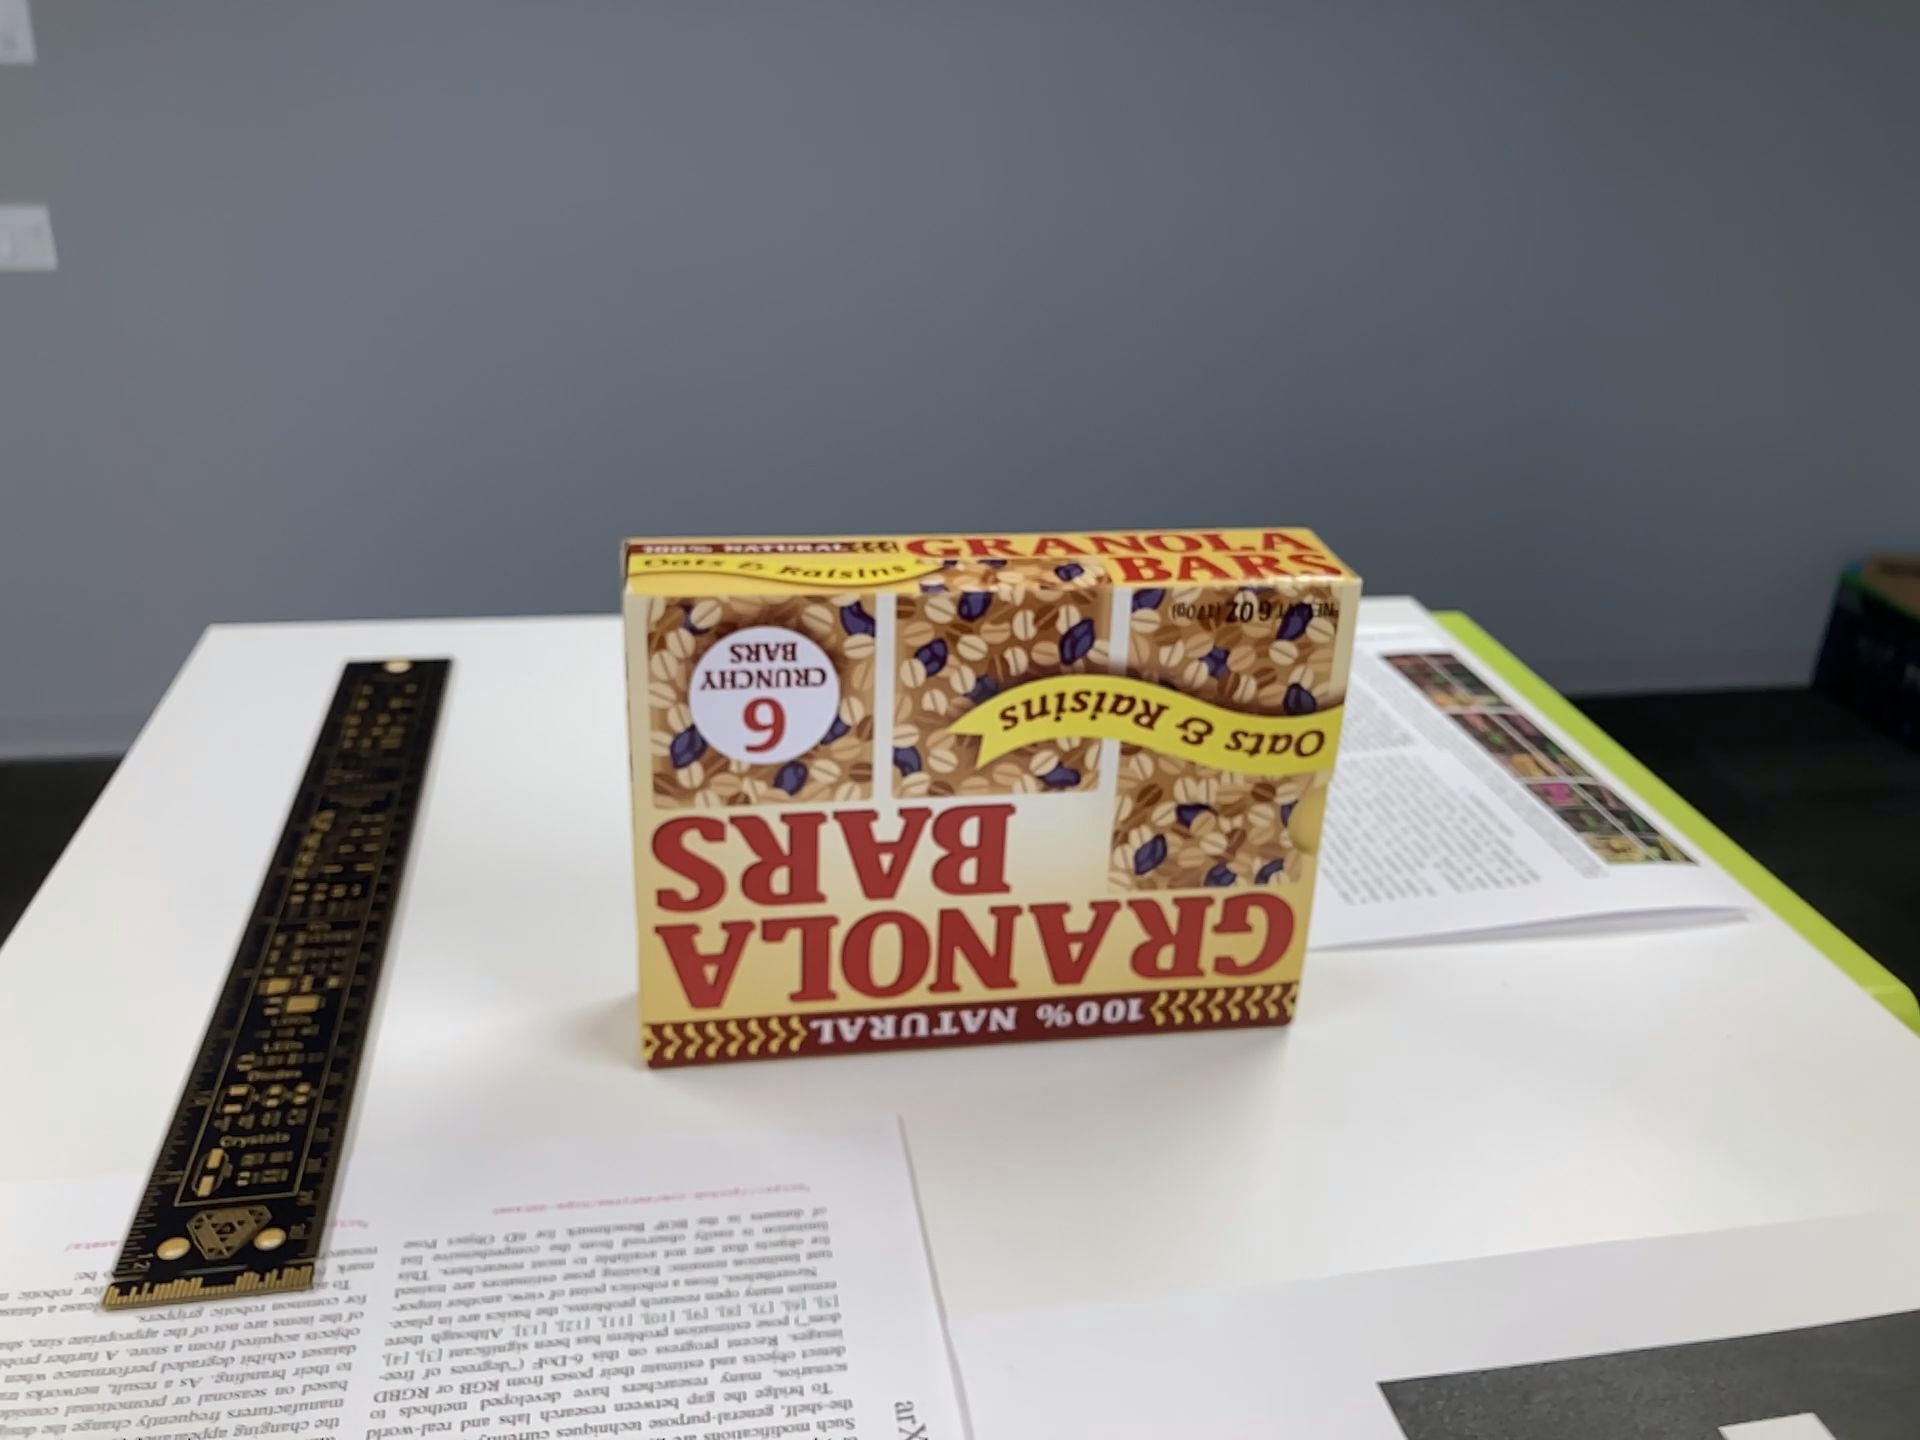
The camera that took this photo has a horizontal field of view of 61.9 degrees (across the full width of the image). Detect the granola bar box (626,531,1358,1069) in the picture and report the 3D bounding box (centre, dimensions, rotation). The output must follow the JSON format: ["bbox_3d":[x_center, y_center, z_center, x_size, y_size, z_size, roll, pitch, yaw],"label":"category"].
[{"bbox_3d":[0.005,0.019,0.390,0.165,0.124,0.039,-2,26,-10],"label":"granola bar box"}]
